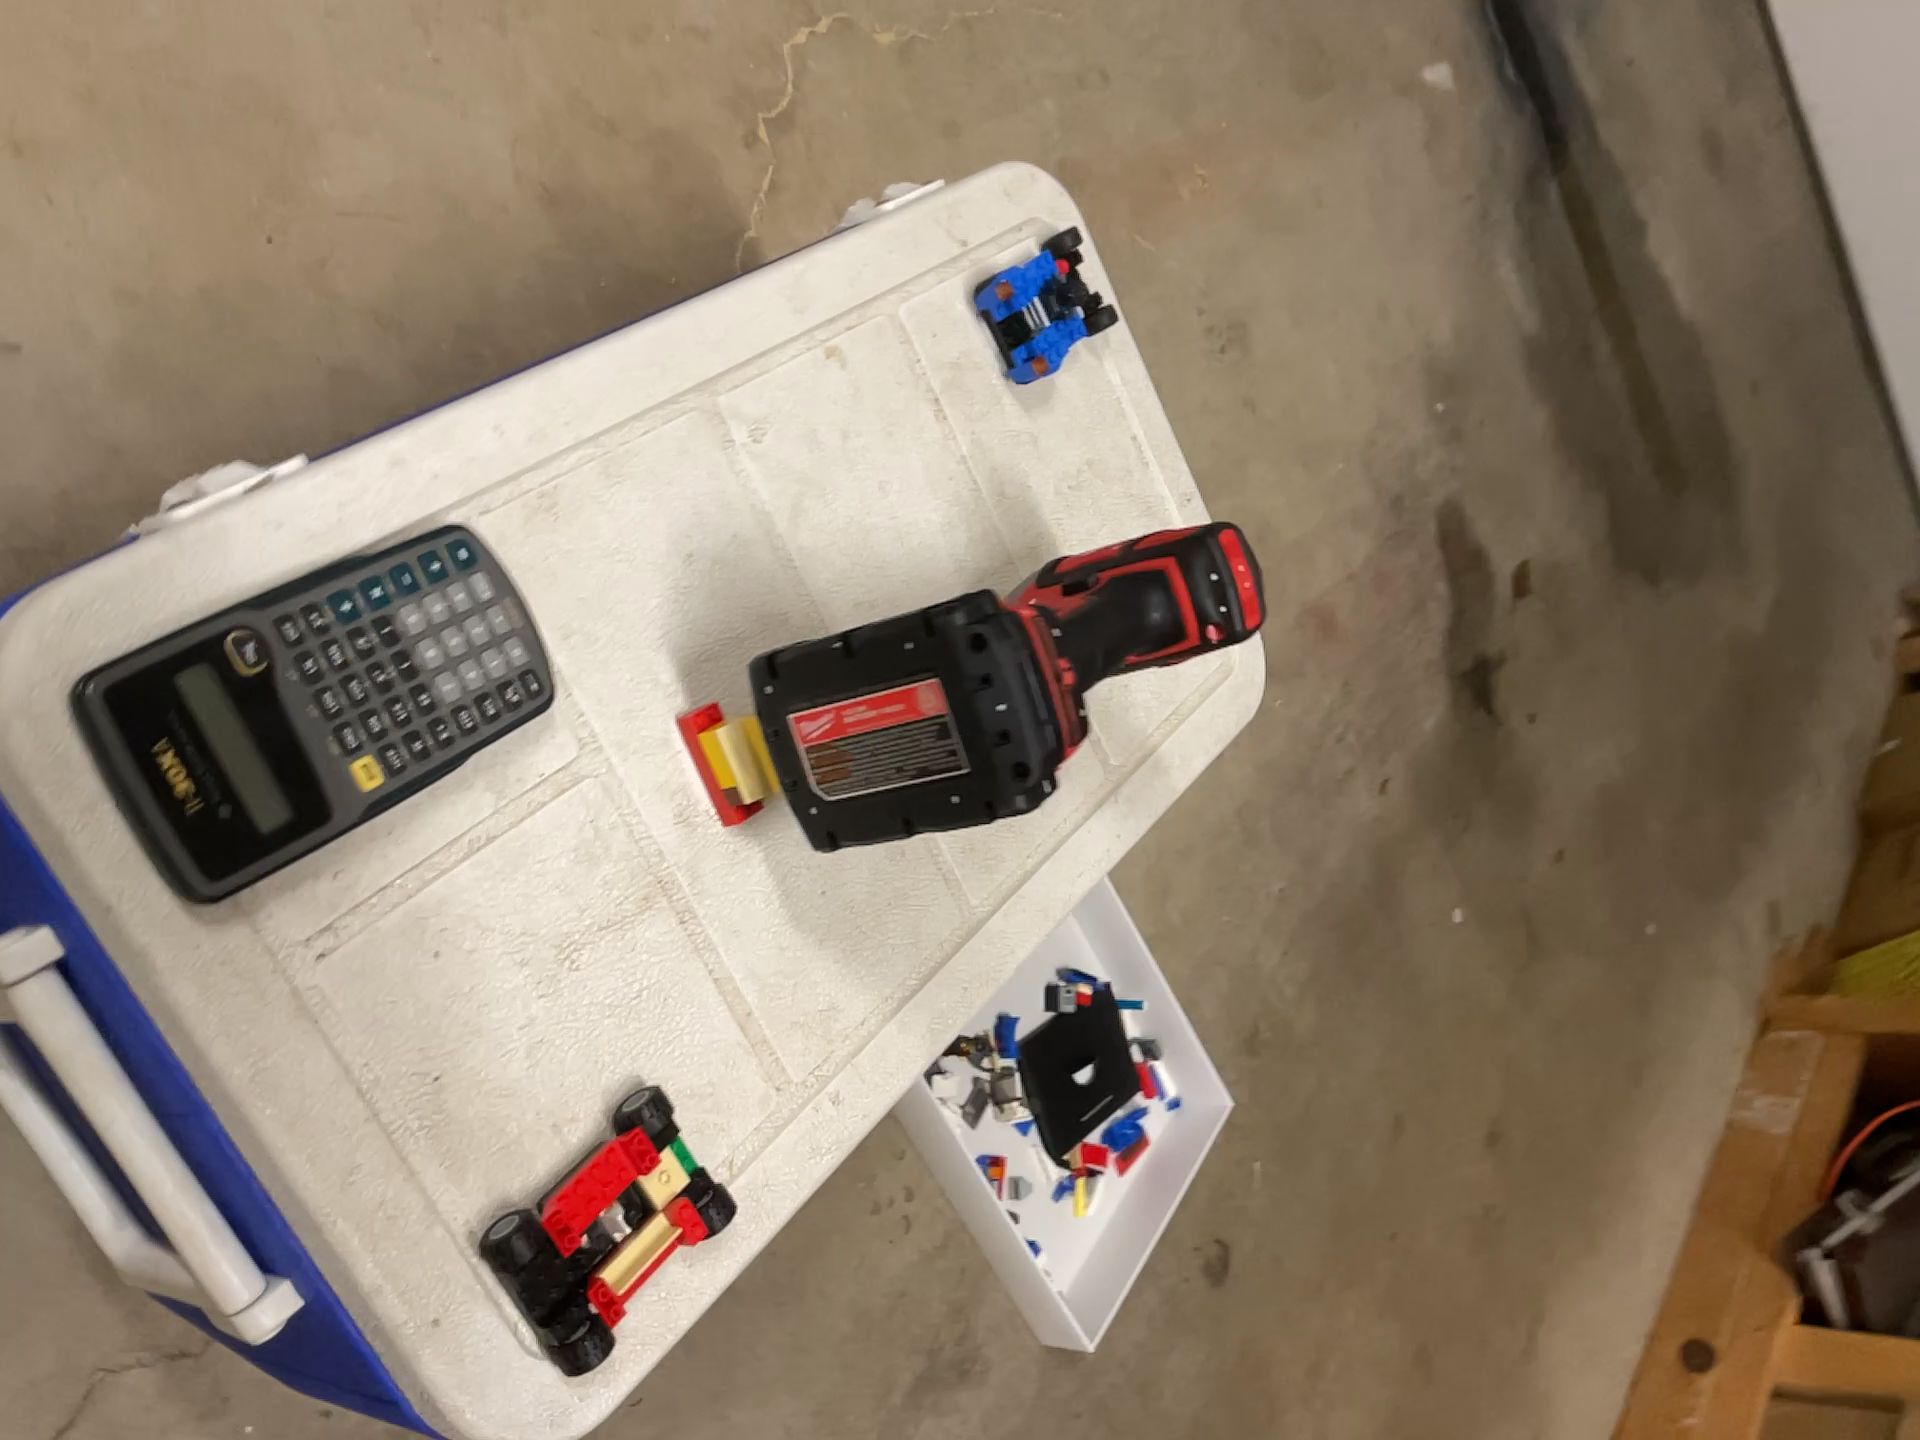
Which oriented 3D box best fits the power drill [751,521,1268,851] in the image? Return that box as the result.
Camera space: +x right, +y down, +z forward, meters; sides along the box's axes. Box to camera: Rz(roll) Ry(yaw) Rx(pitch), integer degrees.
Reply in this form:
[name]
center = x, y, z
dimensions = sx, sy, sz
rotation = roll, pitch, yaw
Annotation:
[power drill]
center = 0.023, -0.024, 0.660
dimensions = 0.220, 0.143, 0.078
rotation = -29, 104, -52
